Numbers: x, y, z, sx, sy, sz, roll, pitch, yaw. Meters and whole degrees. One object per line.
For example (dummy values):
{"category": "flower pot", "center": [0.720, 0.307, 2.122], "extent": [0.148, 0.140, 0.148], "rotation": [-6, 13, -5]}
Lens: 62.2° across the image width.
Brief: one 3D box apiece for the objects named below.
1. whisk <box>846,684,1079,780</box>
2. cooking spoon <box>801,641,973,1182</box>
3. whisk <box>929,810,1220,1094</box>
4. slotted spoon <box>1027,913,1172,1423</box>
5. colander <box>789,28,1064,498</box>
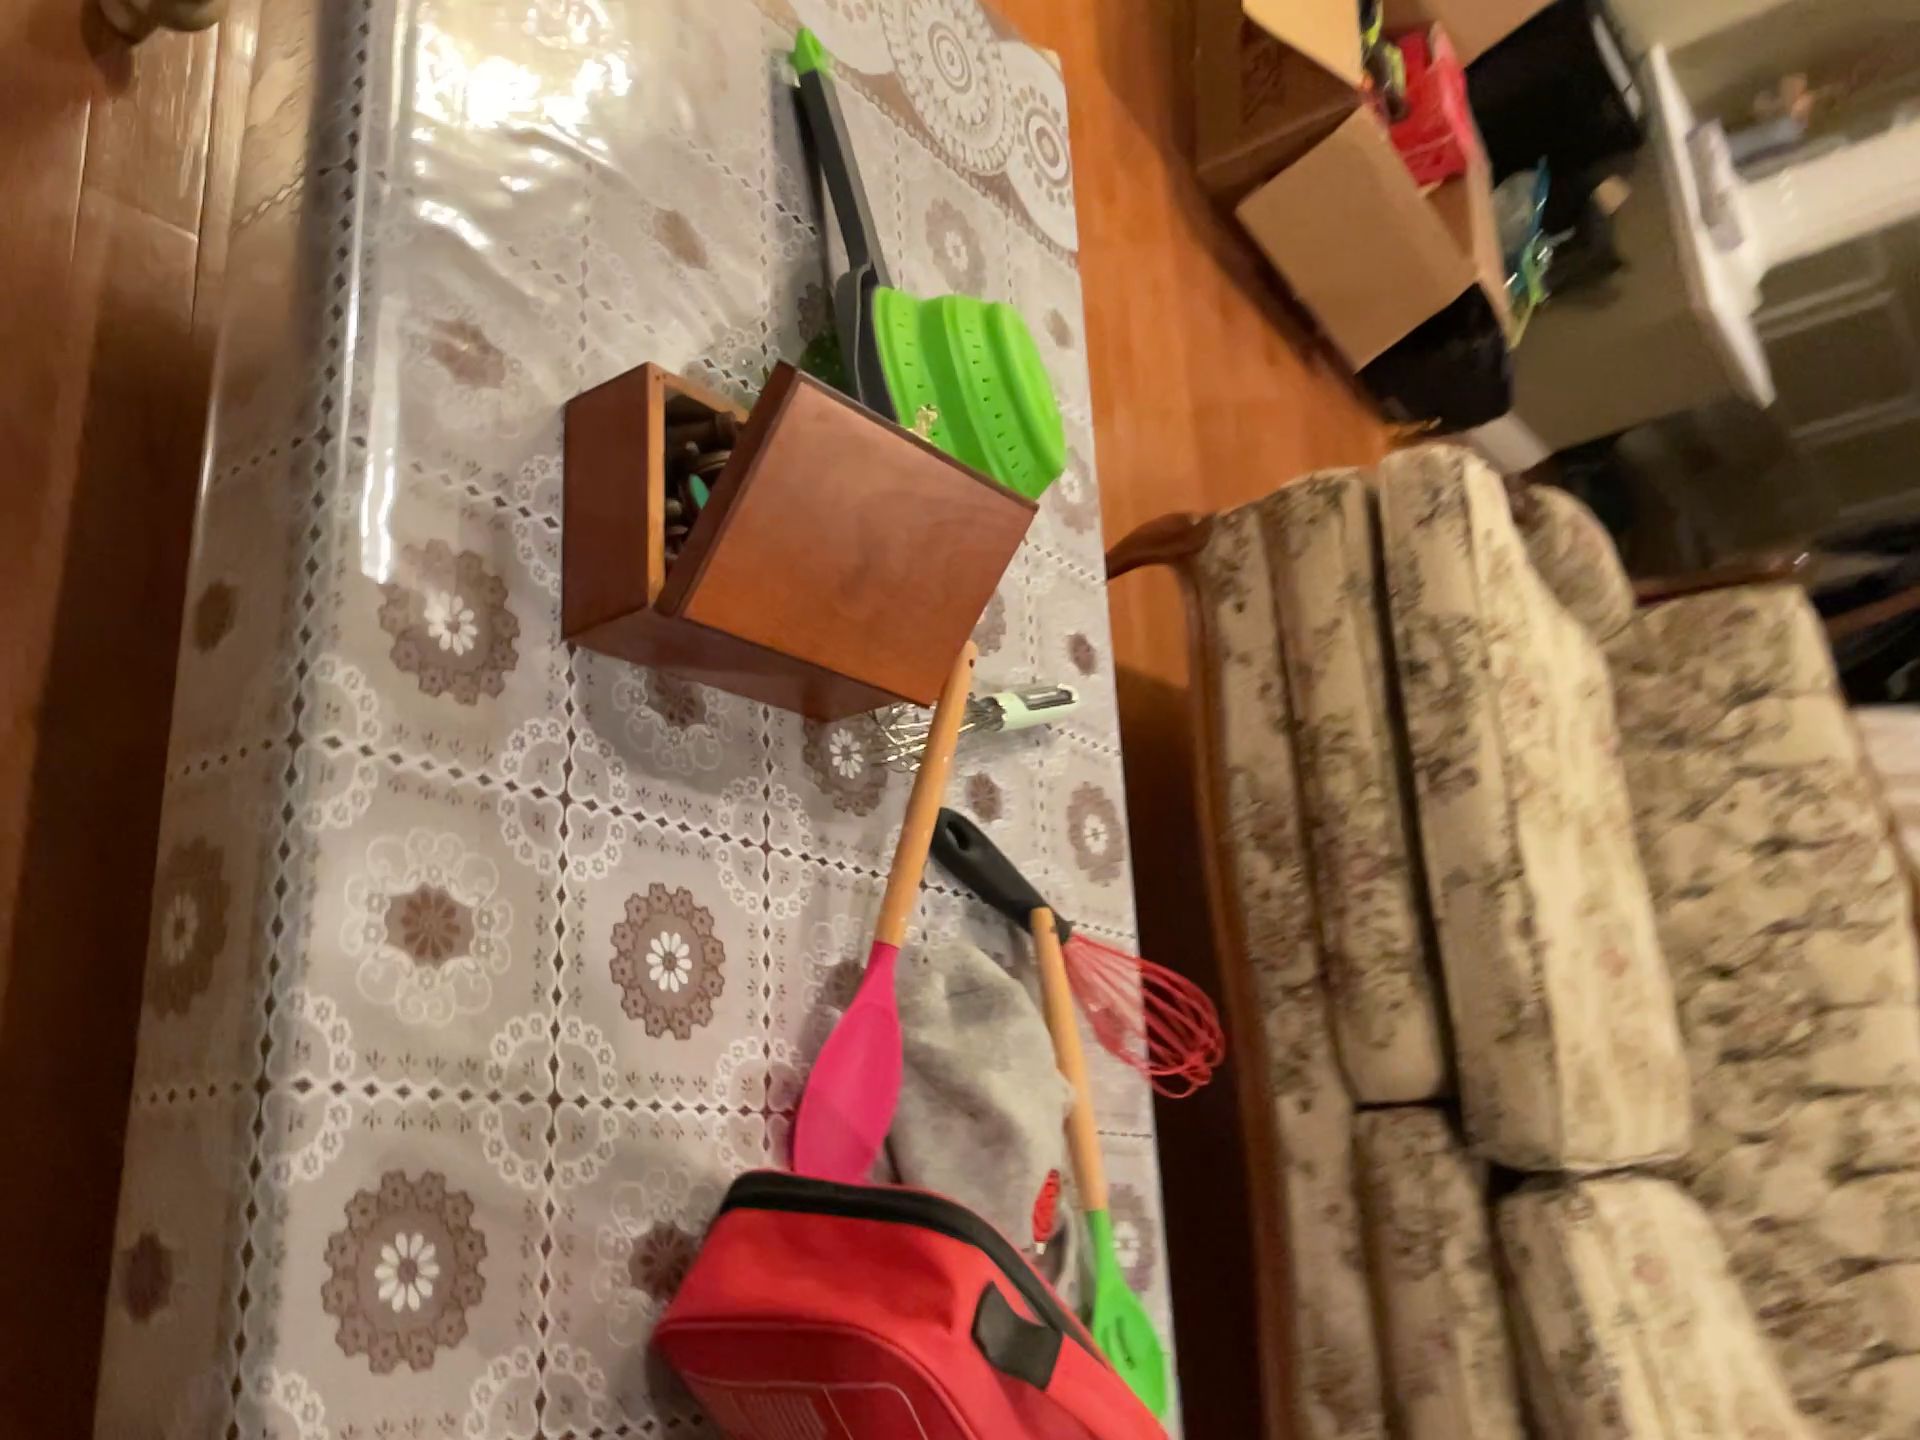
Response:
{"category": "whisk", "center": [0.011, -0.002, 0.999], "extent": [0.246, 0.059, 0.057], "rotation": [-11, 127, -58]}
{"category": "cooking spoon", "center": [-0.033, 0.100, 0.859], "extent": [0.068, 0.017, 0.319], "rotation": [36, 60, -45]}
{"category": "whisk", "center": [0.074, 0.149, 1.012], "extent": [0.295, 0.073, 0.073], "rotation": [44, 50, -28]}
{"category": "slotted spoon", "center": [0.078, 0.272, 0.970], "extent": [0.070, 0.031, 0.314], "rotation": [-9, 87, -56]}
{"category": "colander", "center": [-0.018, -0.262, 0.972], "extent": [0.204, 0.094, 0.397], "rotation": [27, 46, -71]}
